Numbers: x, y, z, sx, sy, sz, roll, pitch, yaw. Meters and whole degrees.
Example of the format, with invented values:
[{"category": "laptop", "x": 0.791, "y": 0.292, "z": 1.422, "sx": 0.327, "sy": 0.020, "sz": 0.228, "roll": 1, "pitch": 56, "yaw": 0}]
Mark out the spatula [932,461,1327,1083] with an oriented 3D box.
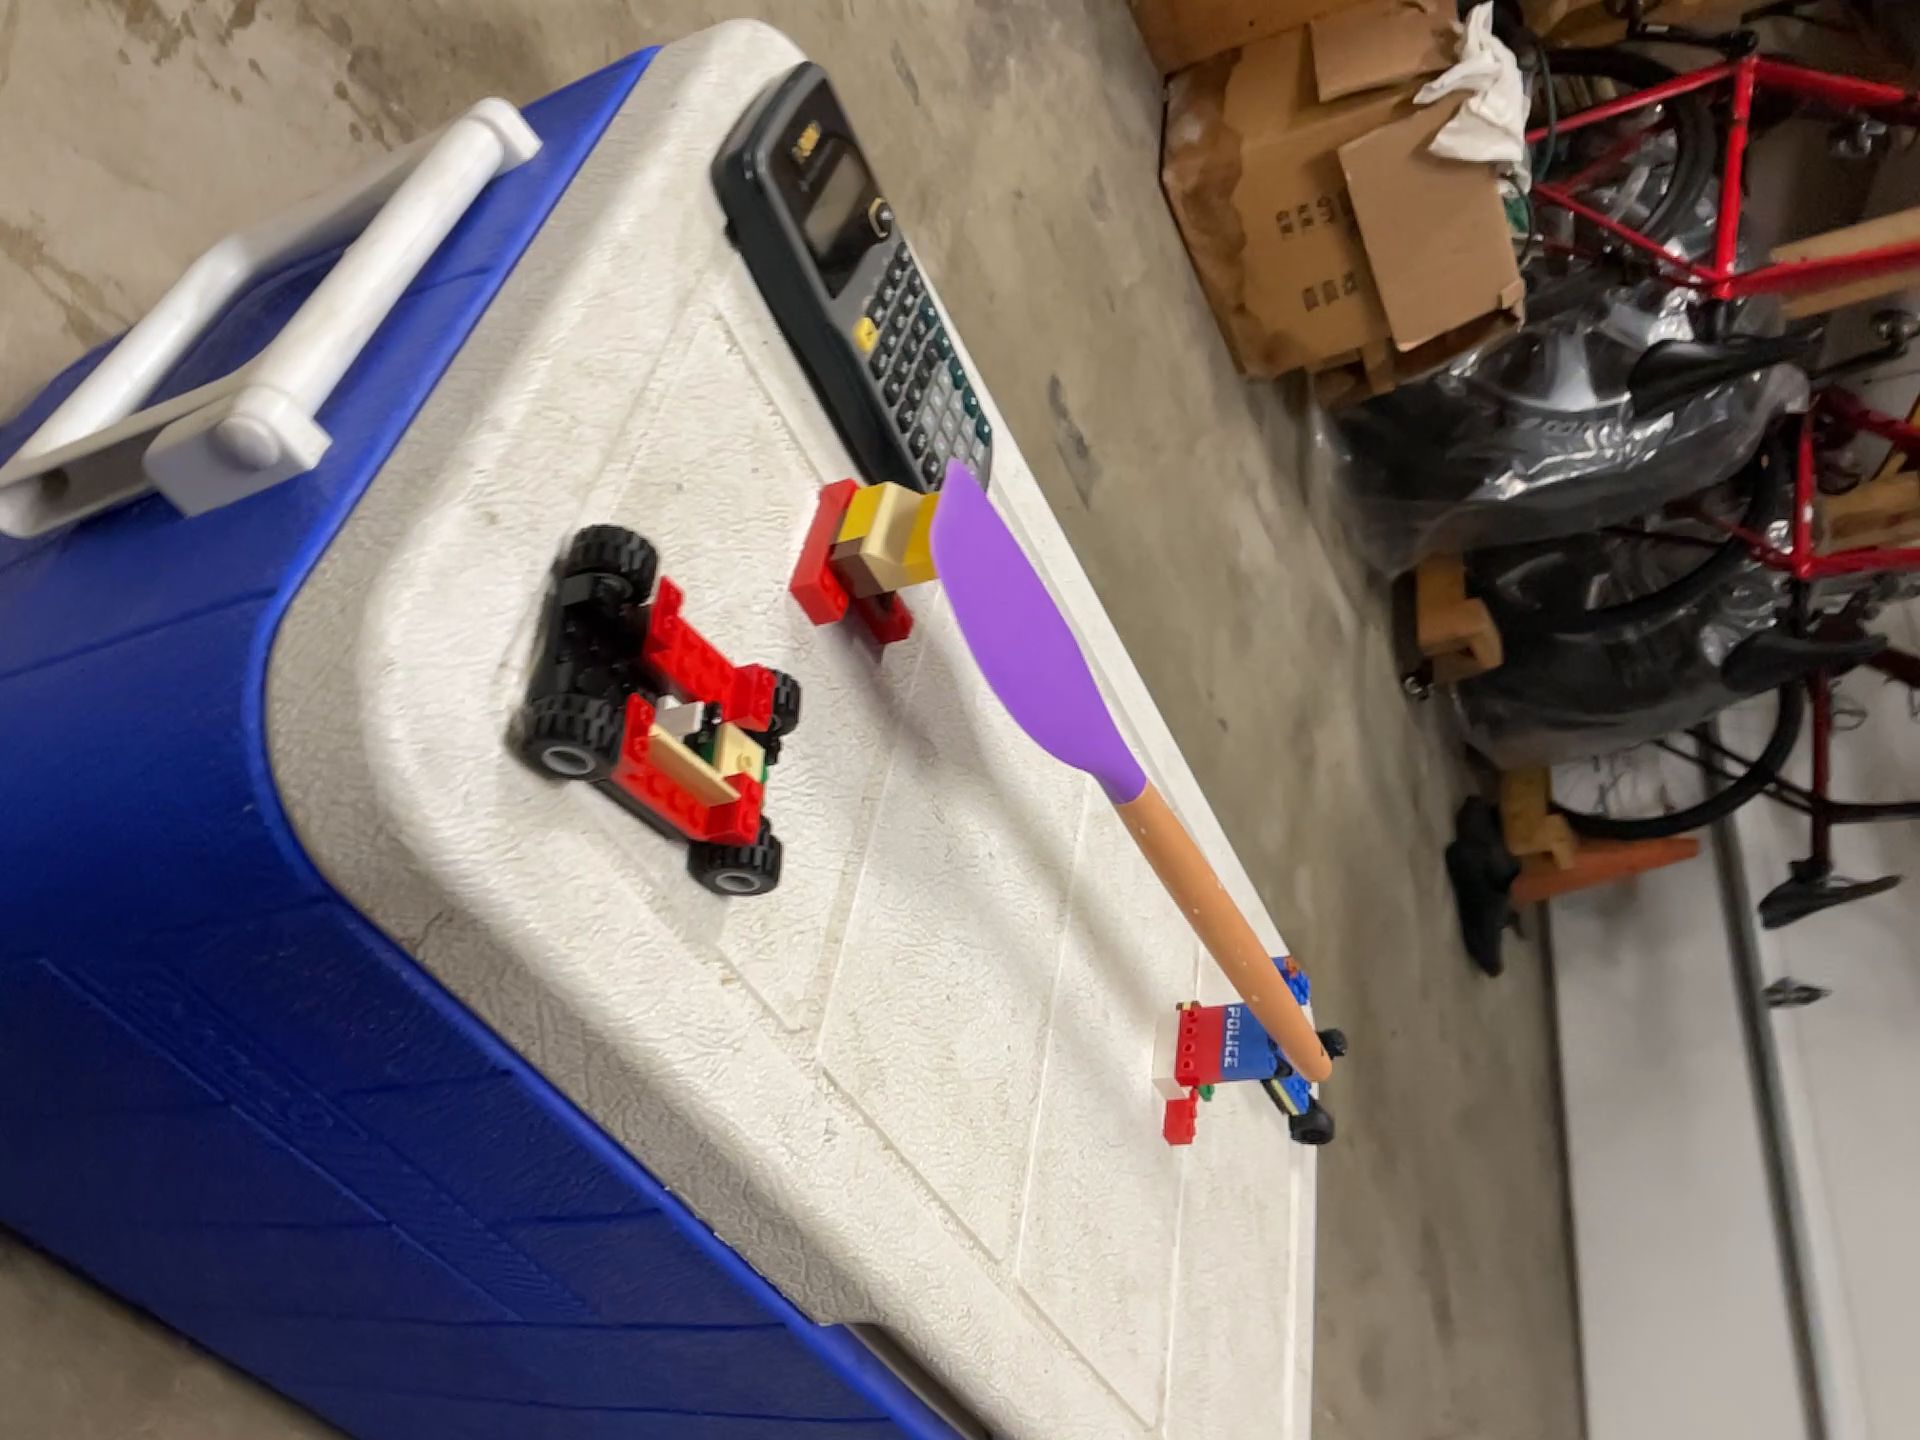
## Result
[{"category": "spatula", "x": 0.067, "y": 0.041, "z": 0.546, "sx": 0.316, "sy": 0.018, "sz": 0.060, "roll": 53, "pitch": 34, "yaw": -38}]
